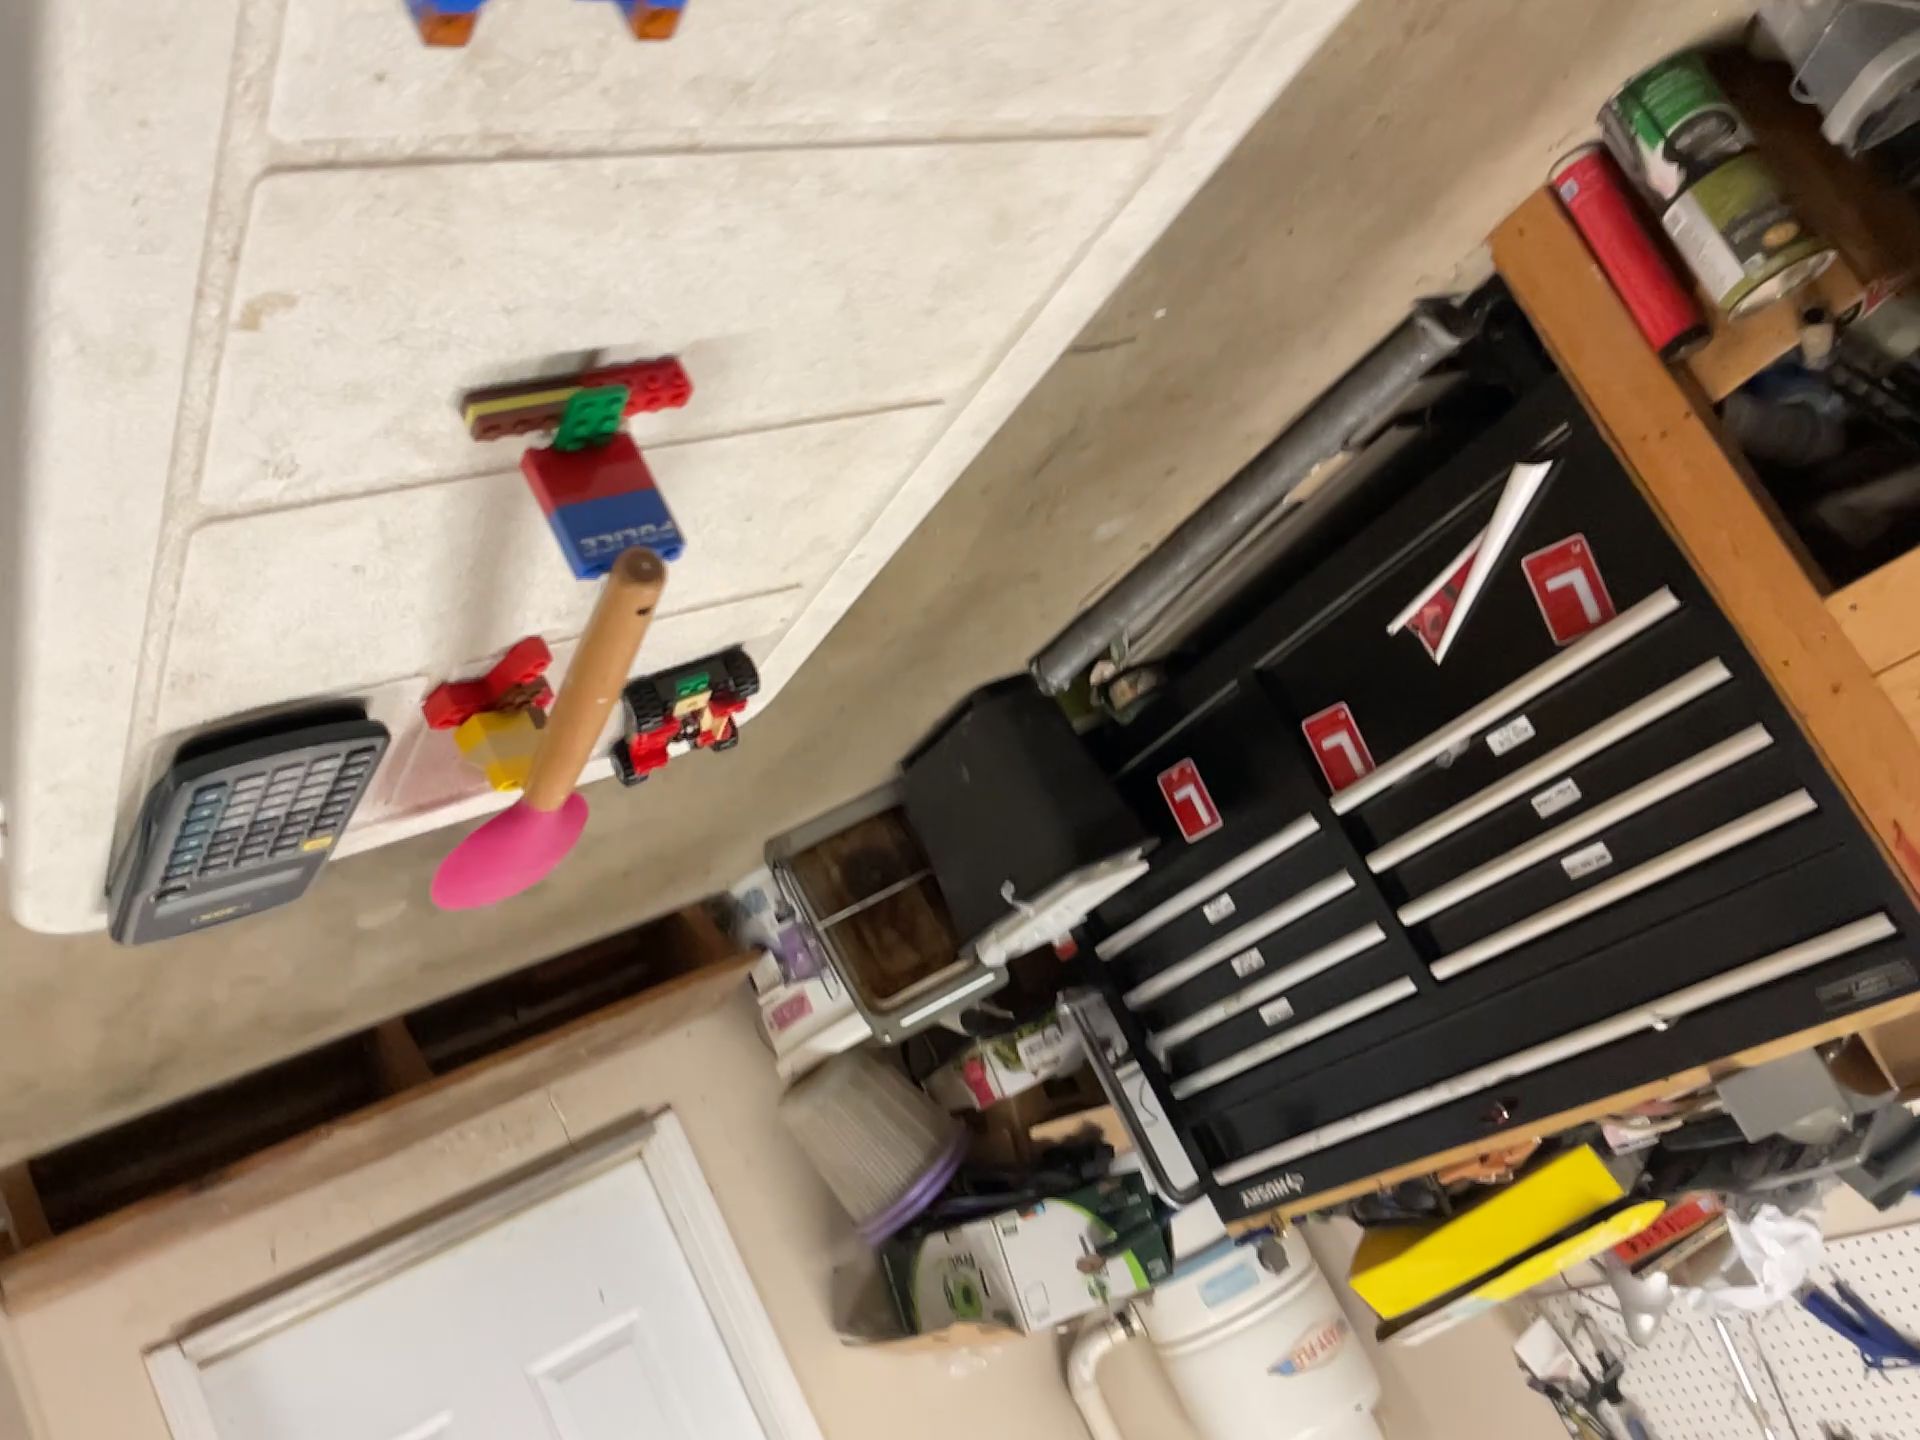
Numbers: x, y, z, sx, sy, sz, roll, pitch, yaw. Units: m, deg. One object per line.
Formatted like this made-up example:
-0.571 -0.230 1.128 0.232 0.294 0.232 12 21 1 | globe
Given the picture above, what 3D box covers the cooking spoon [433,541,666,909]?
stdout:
-0.142 0.016 0.563 0.069 0.017 0.318 -26 169 -30 | cooking spoon
